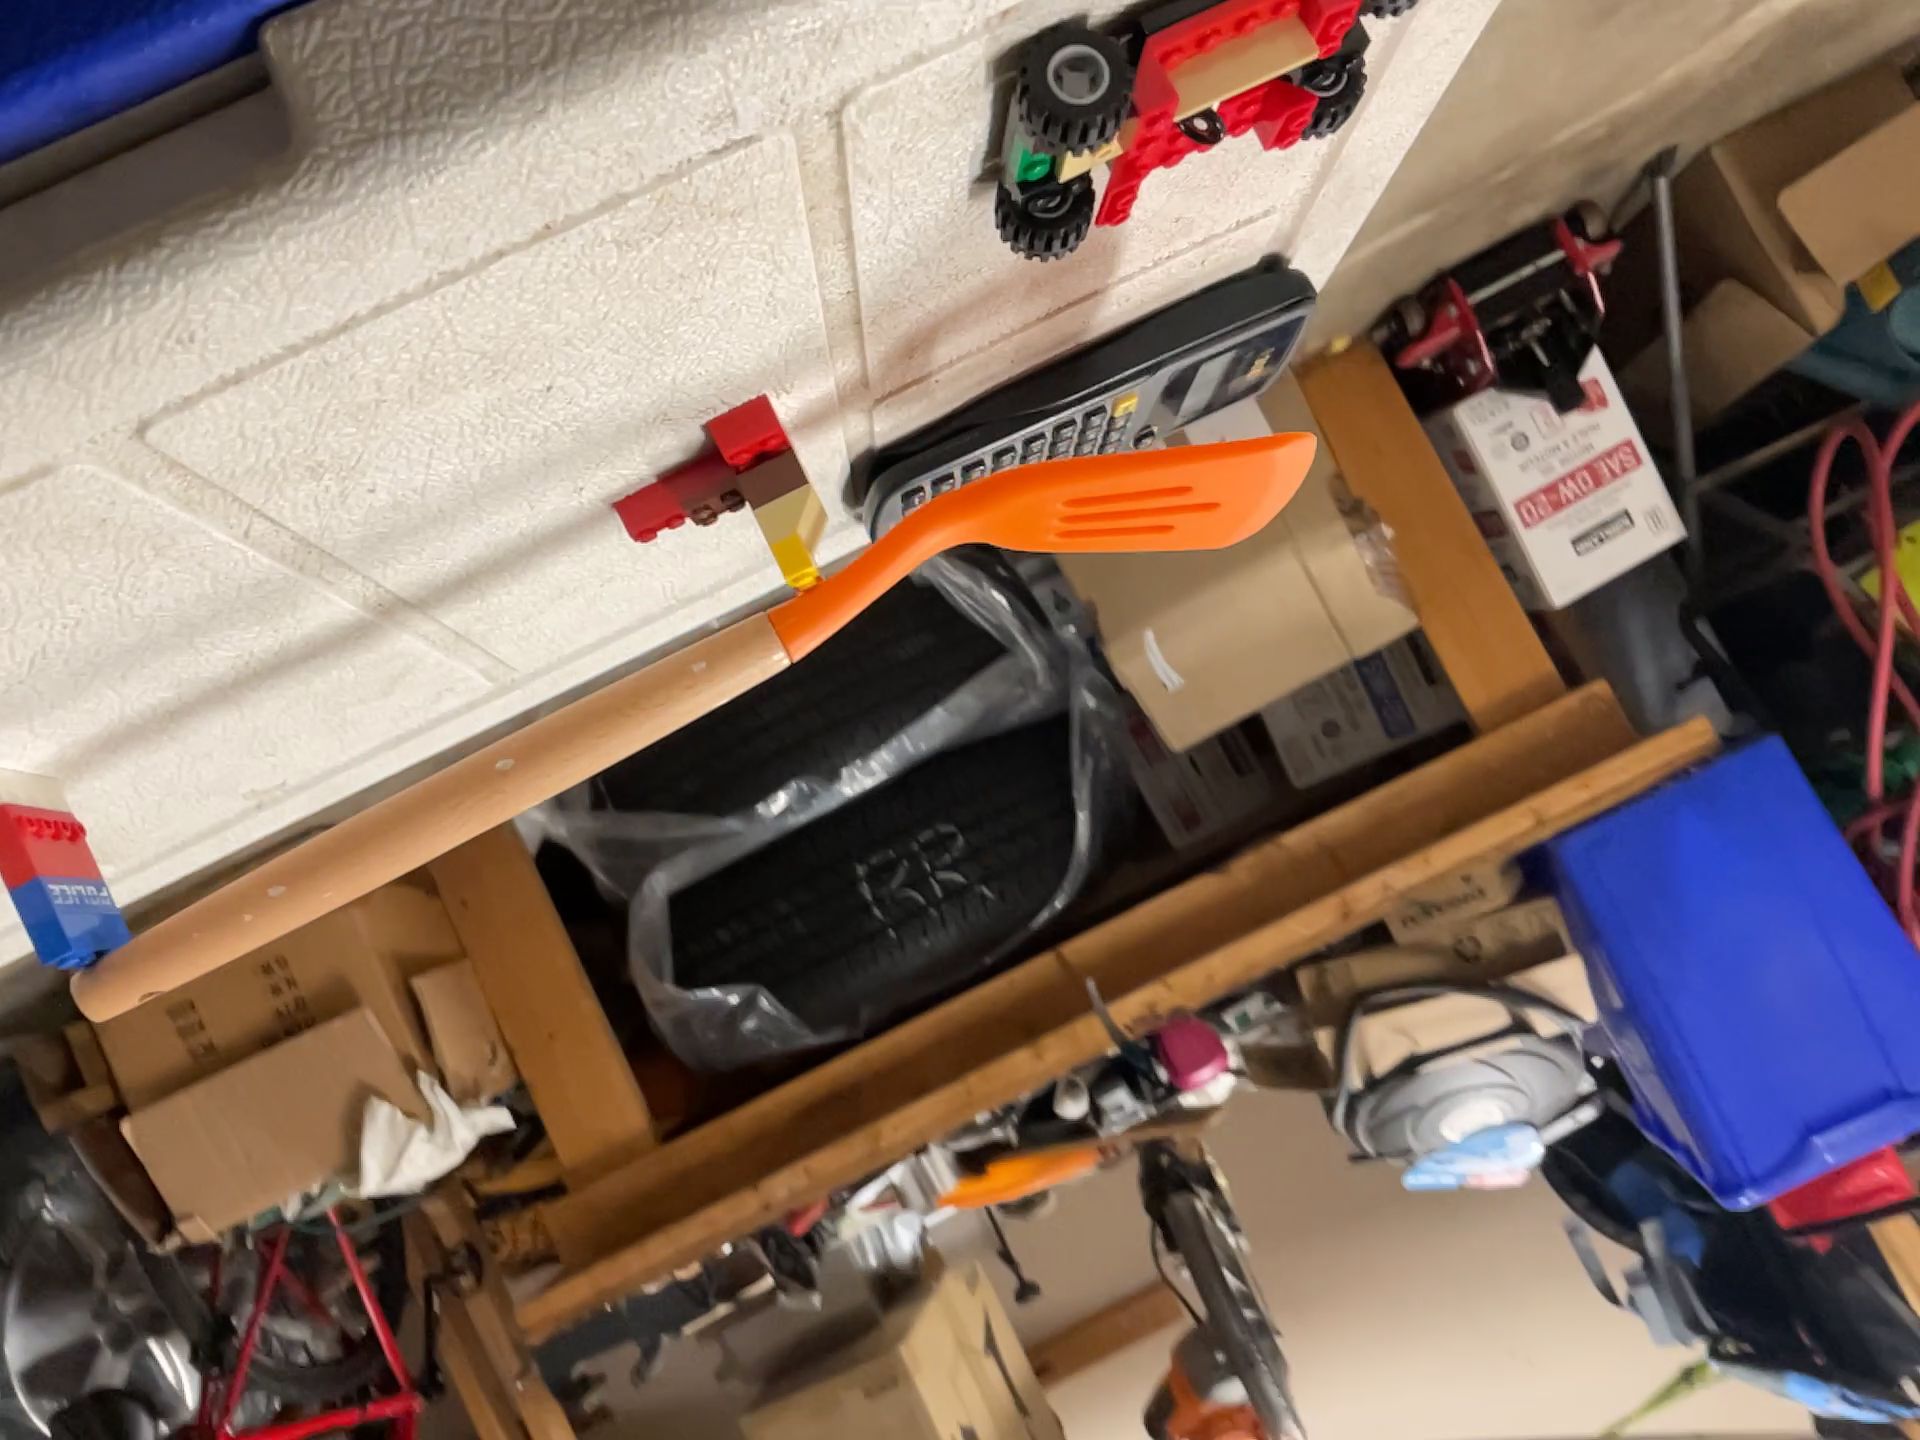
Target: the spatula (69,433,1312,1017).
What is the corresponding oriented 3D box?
[{"bbox_3d":[-0.064,-0.002,0.399,0.322,0.041,0.081,-28,171,-7],"label":"spatula"}]
